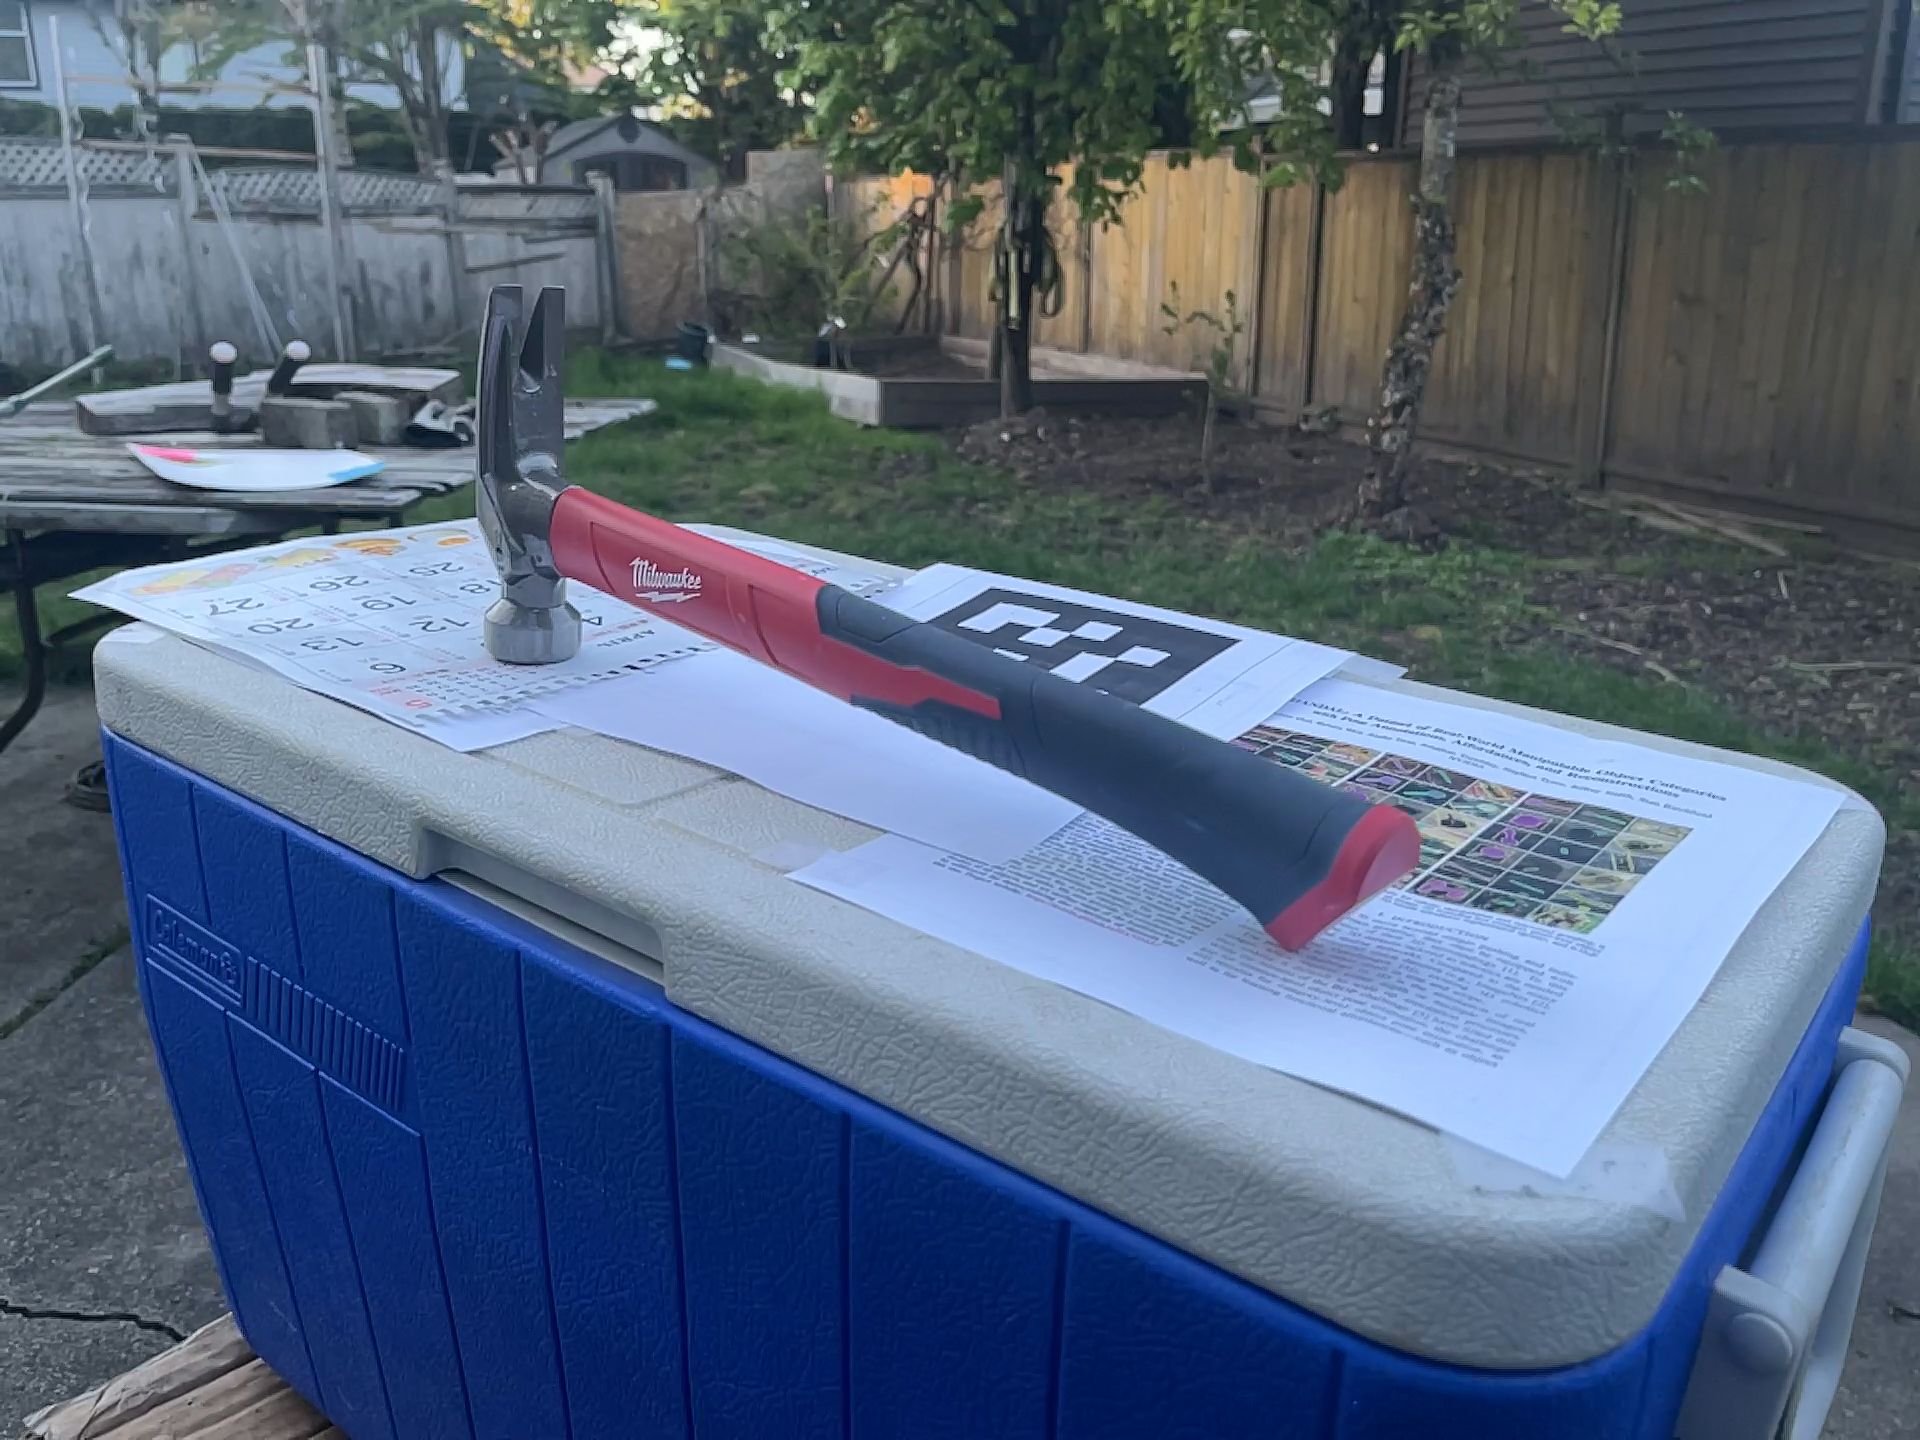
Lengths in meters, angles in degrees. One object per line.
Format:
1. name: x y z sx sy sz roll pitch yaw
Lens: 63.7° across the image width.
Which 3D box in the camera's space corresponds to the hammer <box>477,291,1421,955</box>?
1. hammer: -0.035 -0.037 0.488 0.386 0.143 0.038 23 27 37
